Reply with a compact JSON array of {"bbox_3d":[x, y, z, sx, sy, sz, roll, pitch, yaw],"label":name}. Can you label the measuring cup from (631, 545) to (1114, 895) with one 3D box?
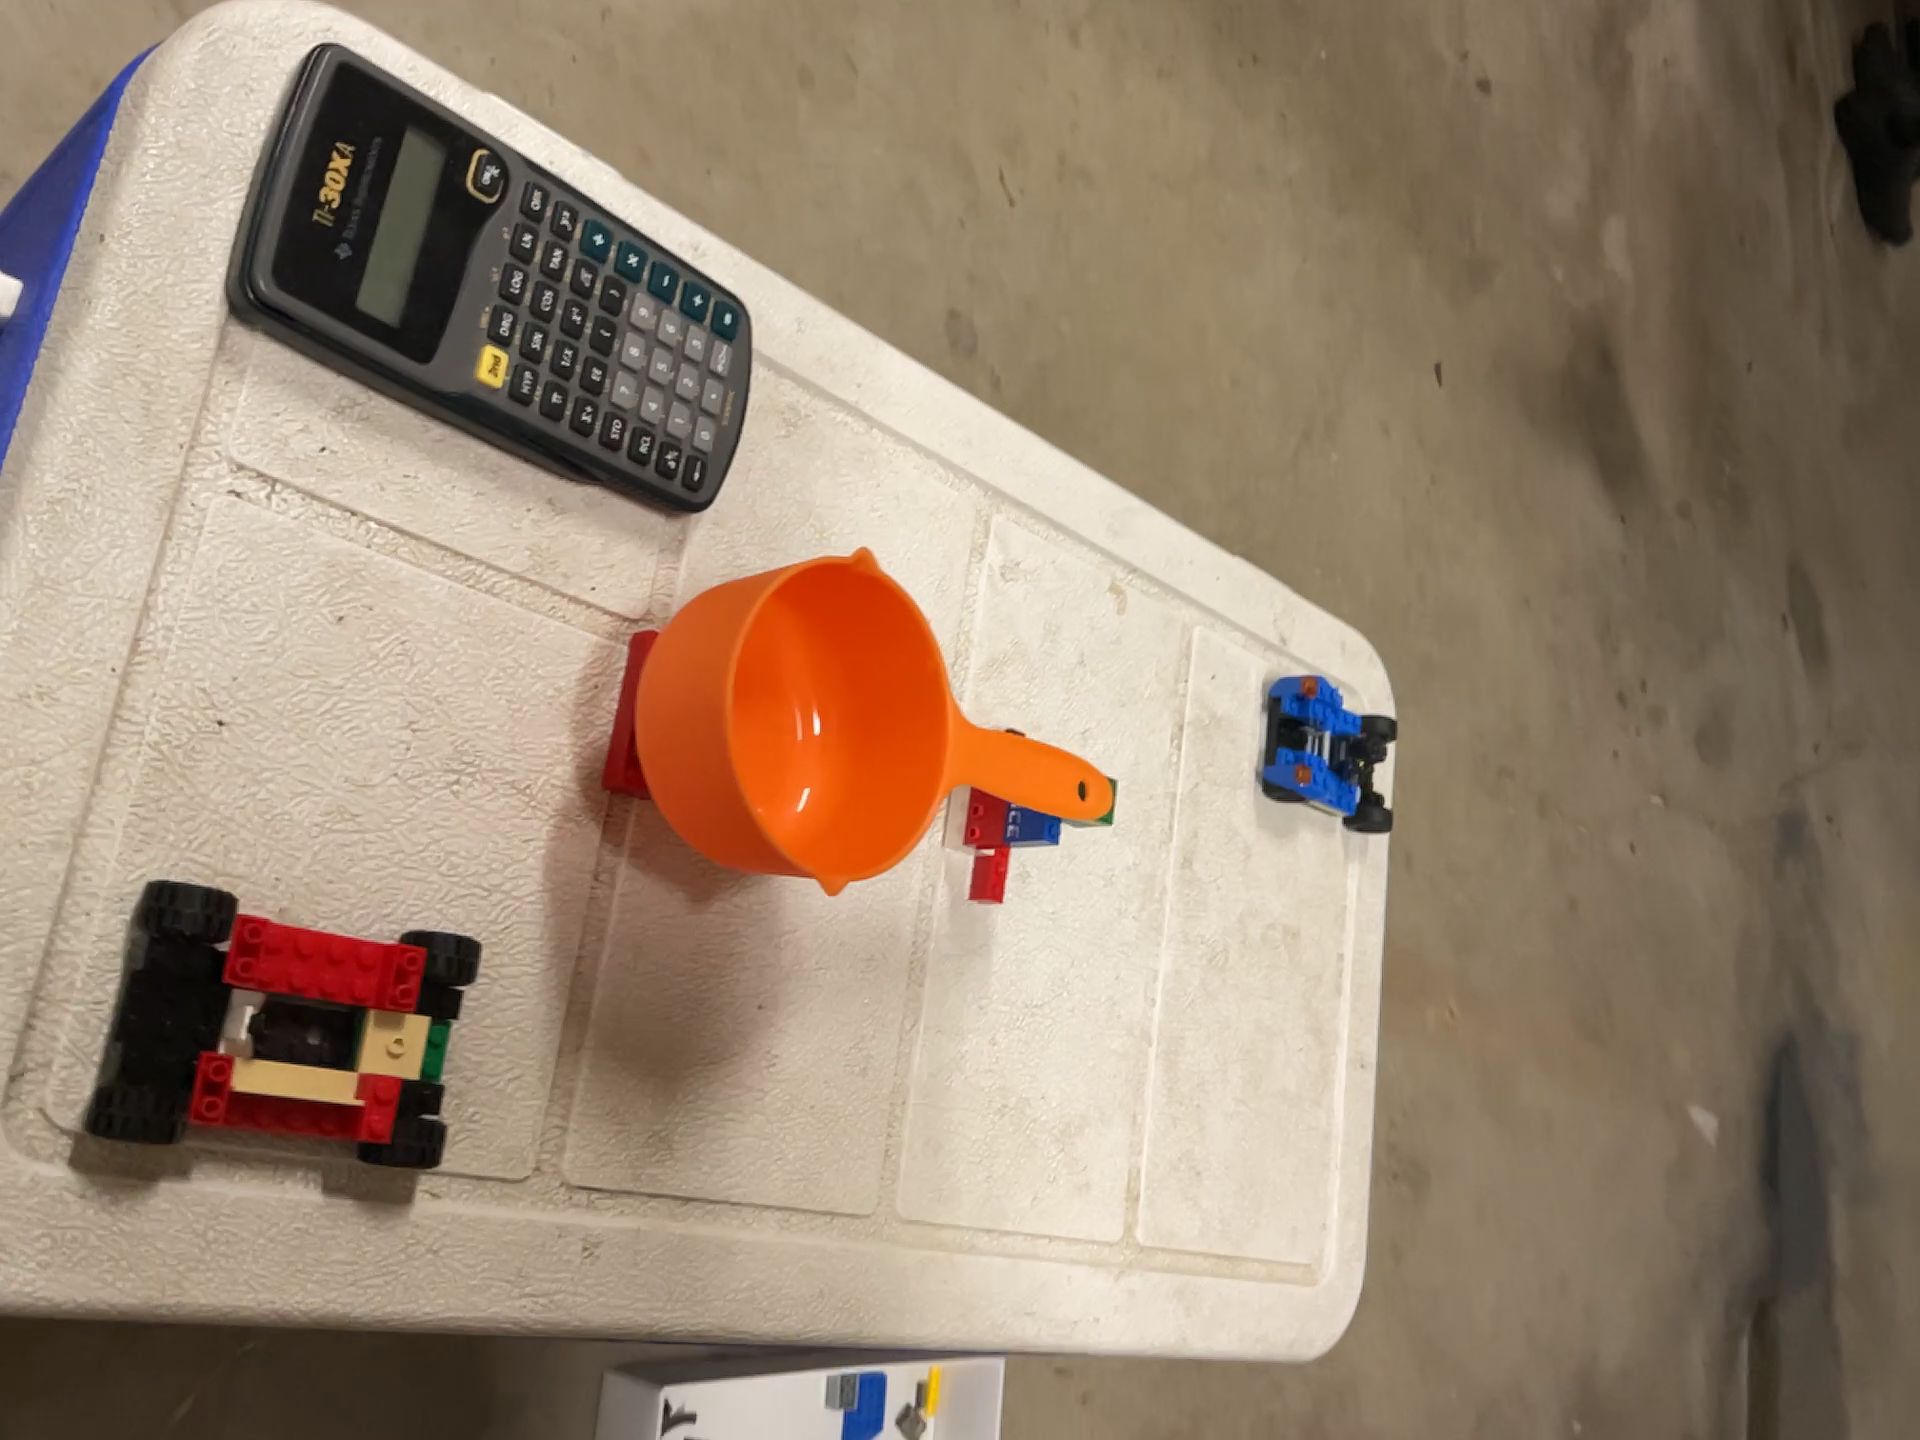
[{"bbox_3d":[-0.022,0.009,0.473,0.173,0.052,0.095,18,72,-49],"label":"measuring cup"}]
